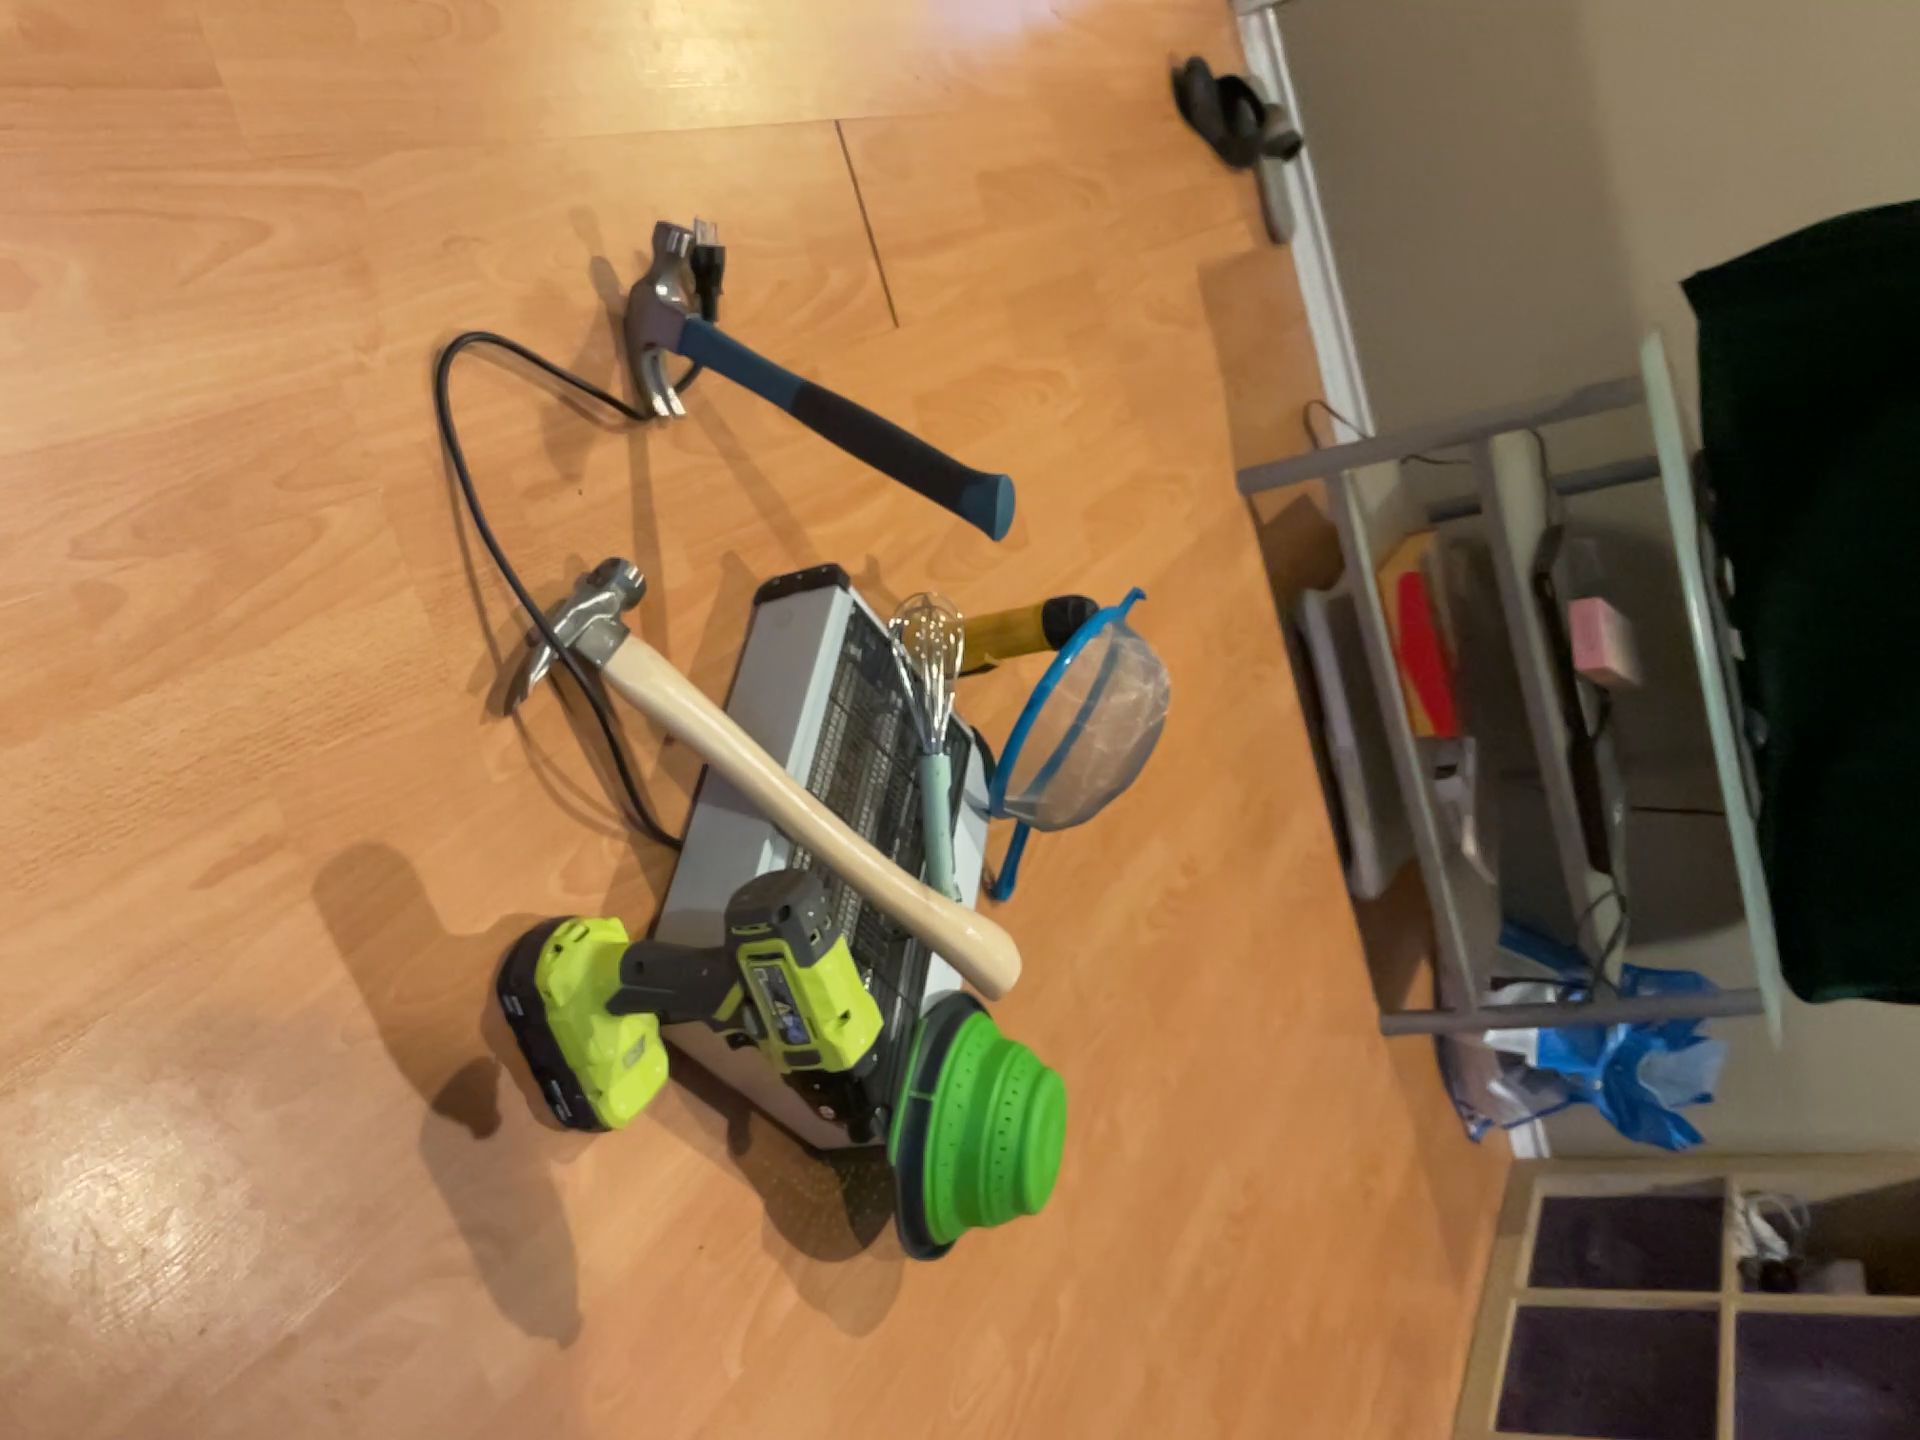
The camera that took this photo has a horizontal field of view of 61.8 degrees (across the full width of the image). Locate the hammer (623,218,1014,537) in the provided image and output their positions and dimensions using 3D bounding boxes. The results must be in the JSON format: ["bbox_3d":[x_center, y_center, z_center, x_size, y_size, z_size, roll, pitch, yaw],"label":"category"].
[{"bbox_3d":[-0.102,-0.223,1.120,0.033,0.331,0.128,-27,145,-60],"label":"hammer"}]

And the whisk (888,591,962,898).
[{"bbox_3d":[-0.022,0.020,1.266,0.058,0.059,0.246,89,-3,-86],"label":"whisk"}]

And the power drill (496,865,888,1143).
[{"bbox_3d":[-0.154,0.181,0.962,0.080,0.223,0.171,-47,122,-55],"label":"power drill"}]

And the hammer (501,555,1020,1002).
[{"bbox_3d":[-0.120,0.066,1.094,0.410,0.038,0.146,41,41,-15],"label":"hammer"}]

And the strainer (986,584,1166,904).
[{"bbox_3d":[0.104,0.061,1.412,0.211,0.095,0.340,-43,155,-45],"label":"strainer"}]

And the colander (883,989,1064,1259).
[{"bbox_3d":[0.042,0.351,1.301,0.396,0.094,0.204,63,36,-60],"label":"colander"}]
